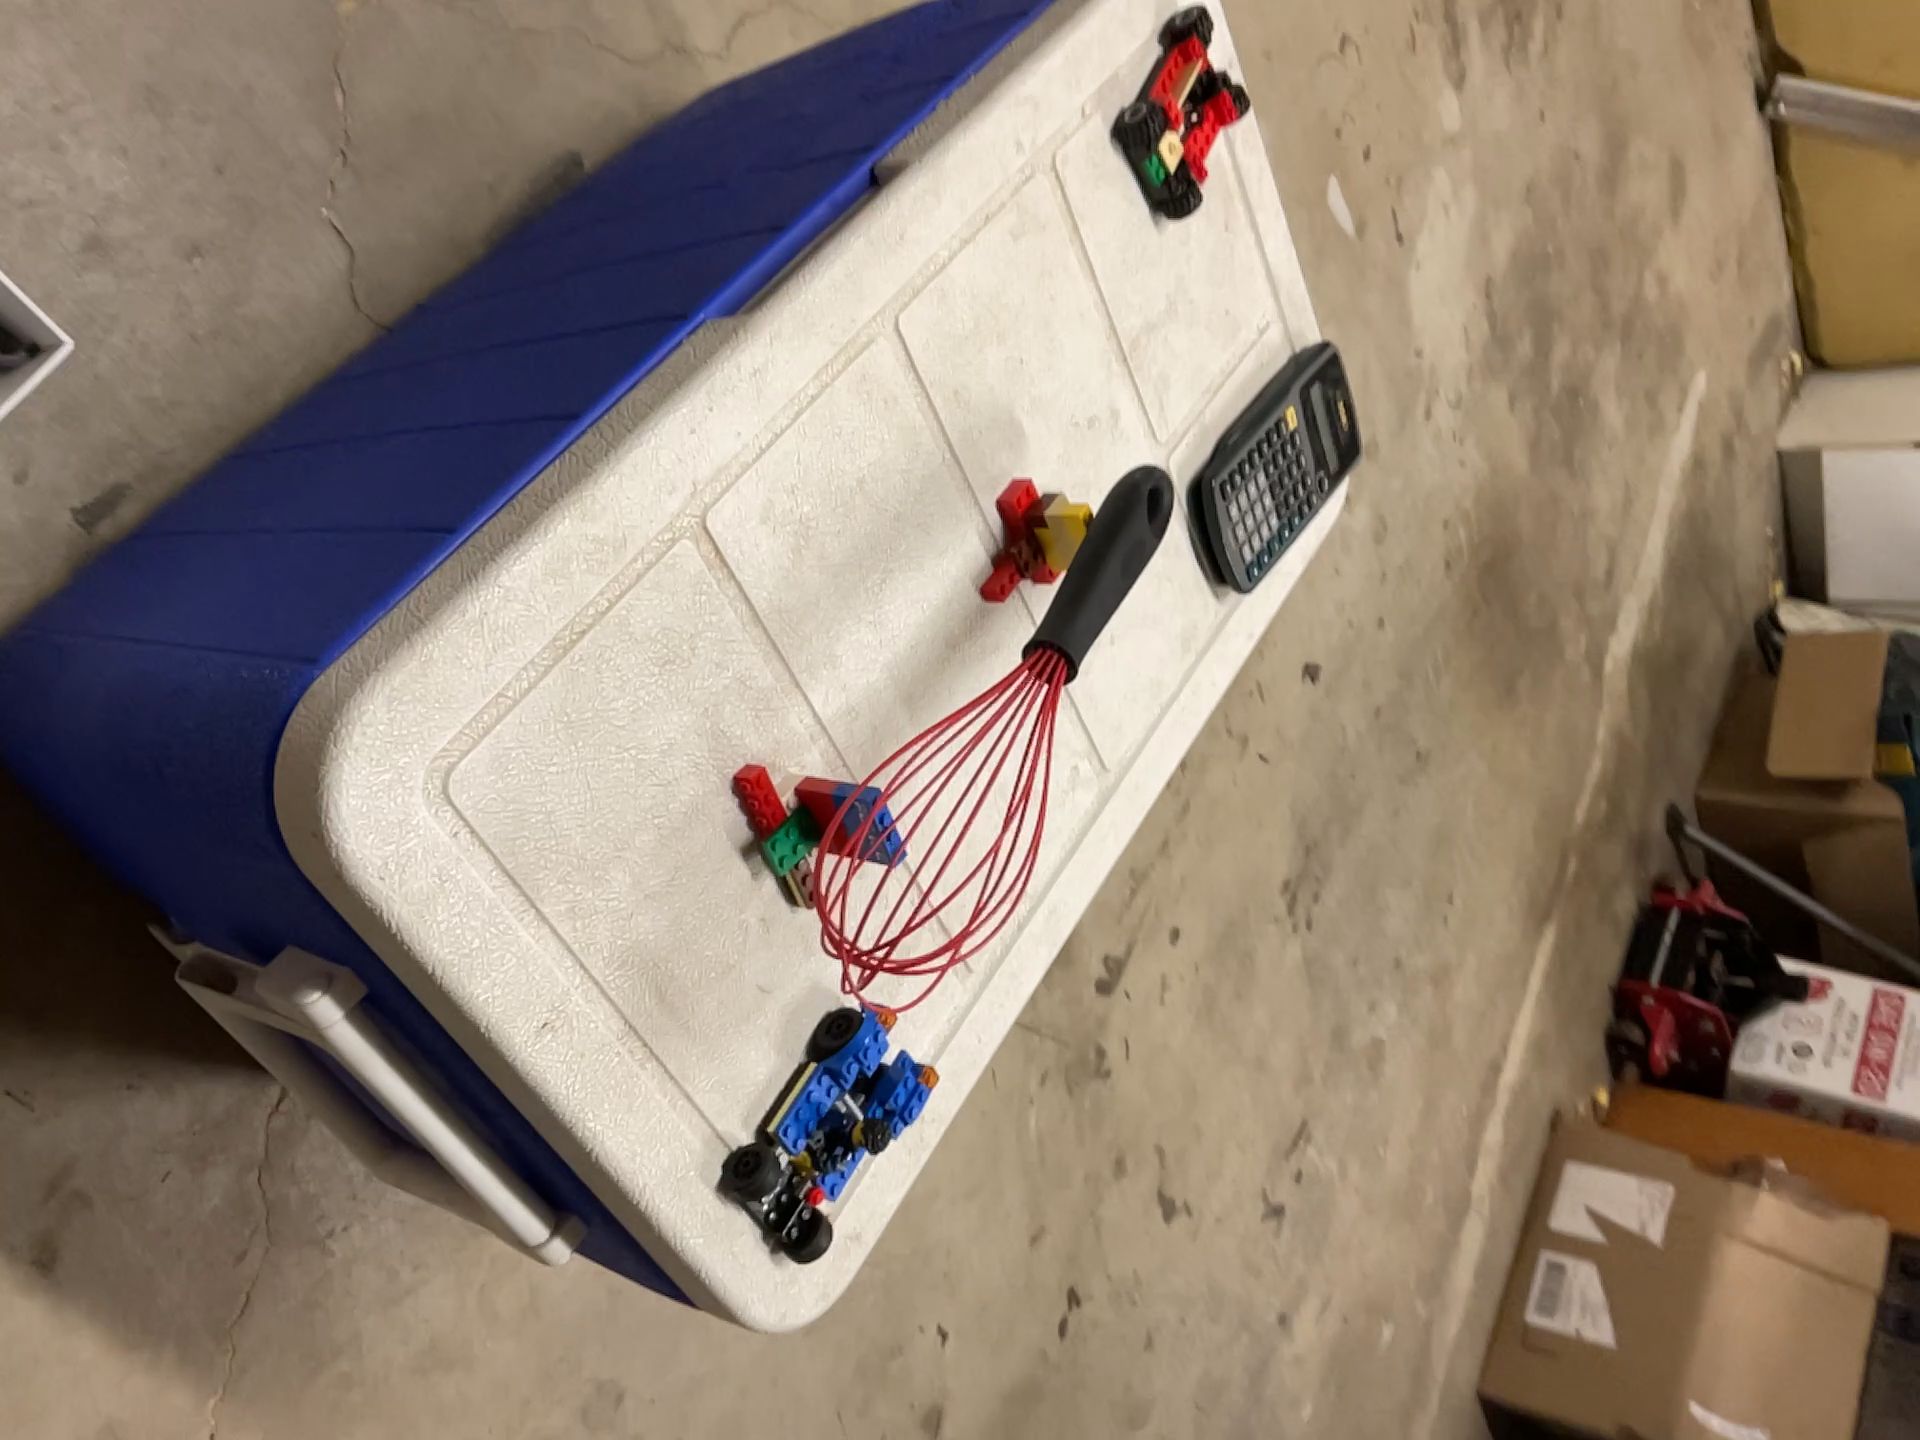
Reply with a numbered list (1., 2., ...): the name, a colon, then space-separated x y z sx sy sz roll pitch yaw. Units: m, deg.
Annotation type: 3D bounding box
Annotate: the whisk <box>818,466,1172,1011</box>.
1. whisk: 0.026 -0.010 0.608 0.073 0.073 0.296 61 42 -31
